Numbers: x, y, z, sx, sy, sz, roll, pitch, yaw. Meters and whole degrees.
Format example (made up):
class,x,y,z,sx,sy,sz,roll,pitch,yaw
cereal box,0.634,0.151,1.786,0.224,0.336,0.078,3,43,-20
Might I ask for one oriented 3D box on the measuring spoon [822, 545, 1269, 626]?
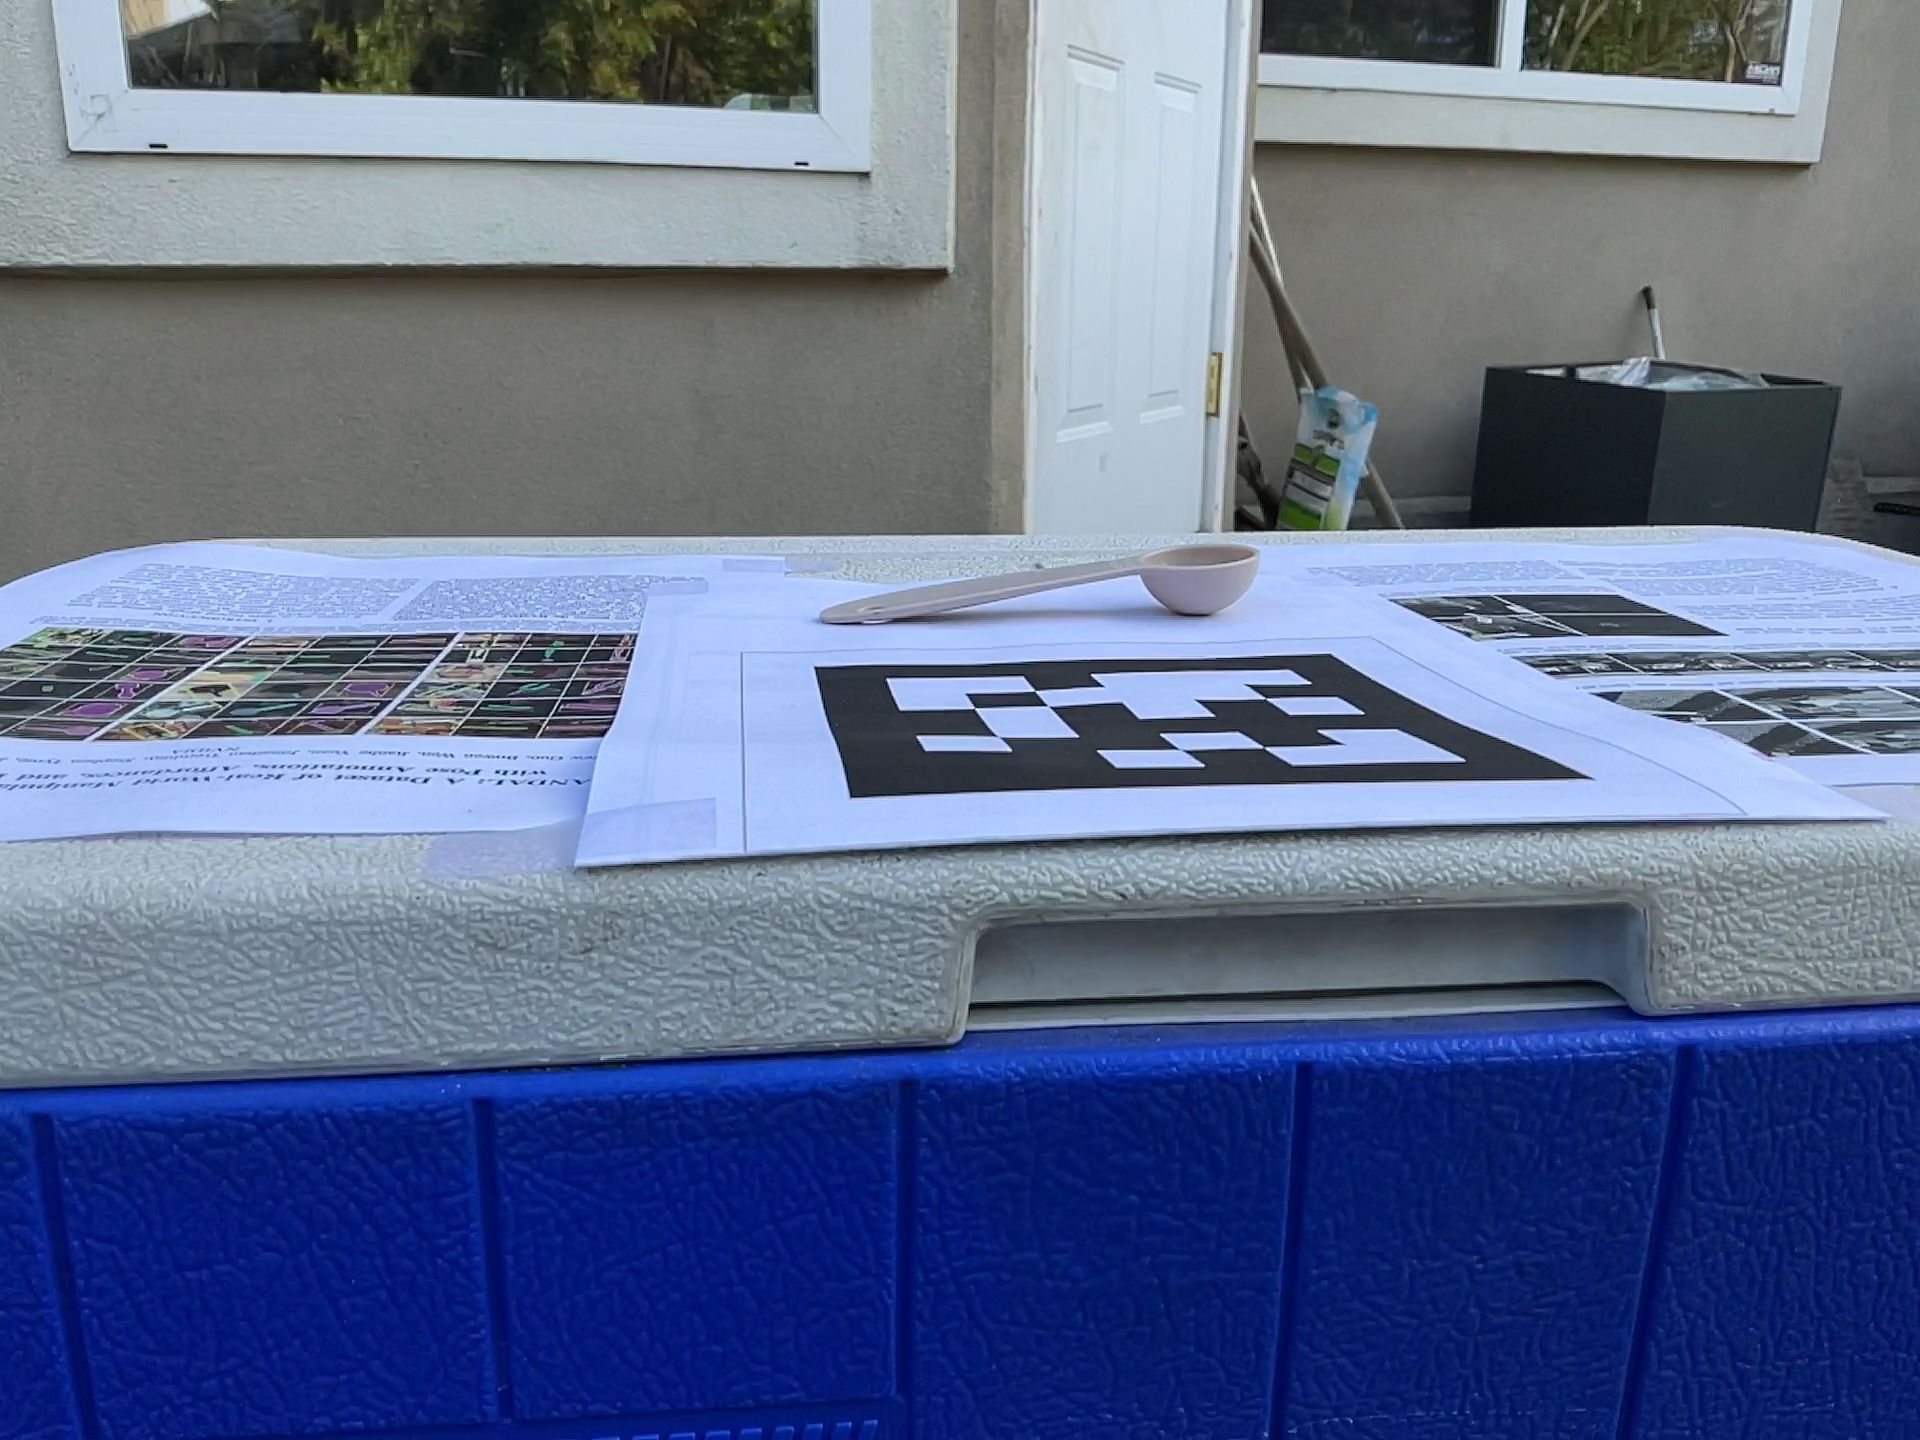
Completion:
class,x,y,z,sx,sy,sz,roll,pitch,yaw
measuring spoon,0.024,-0.031,0.441,0.124,0.018,0.034,-8,17,-5
